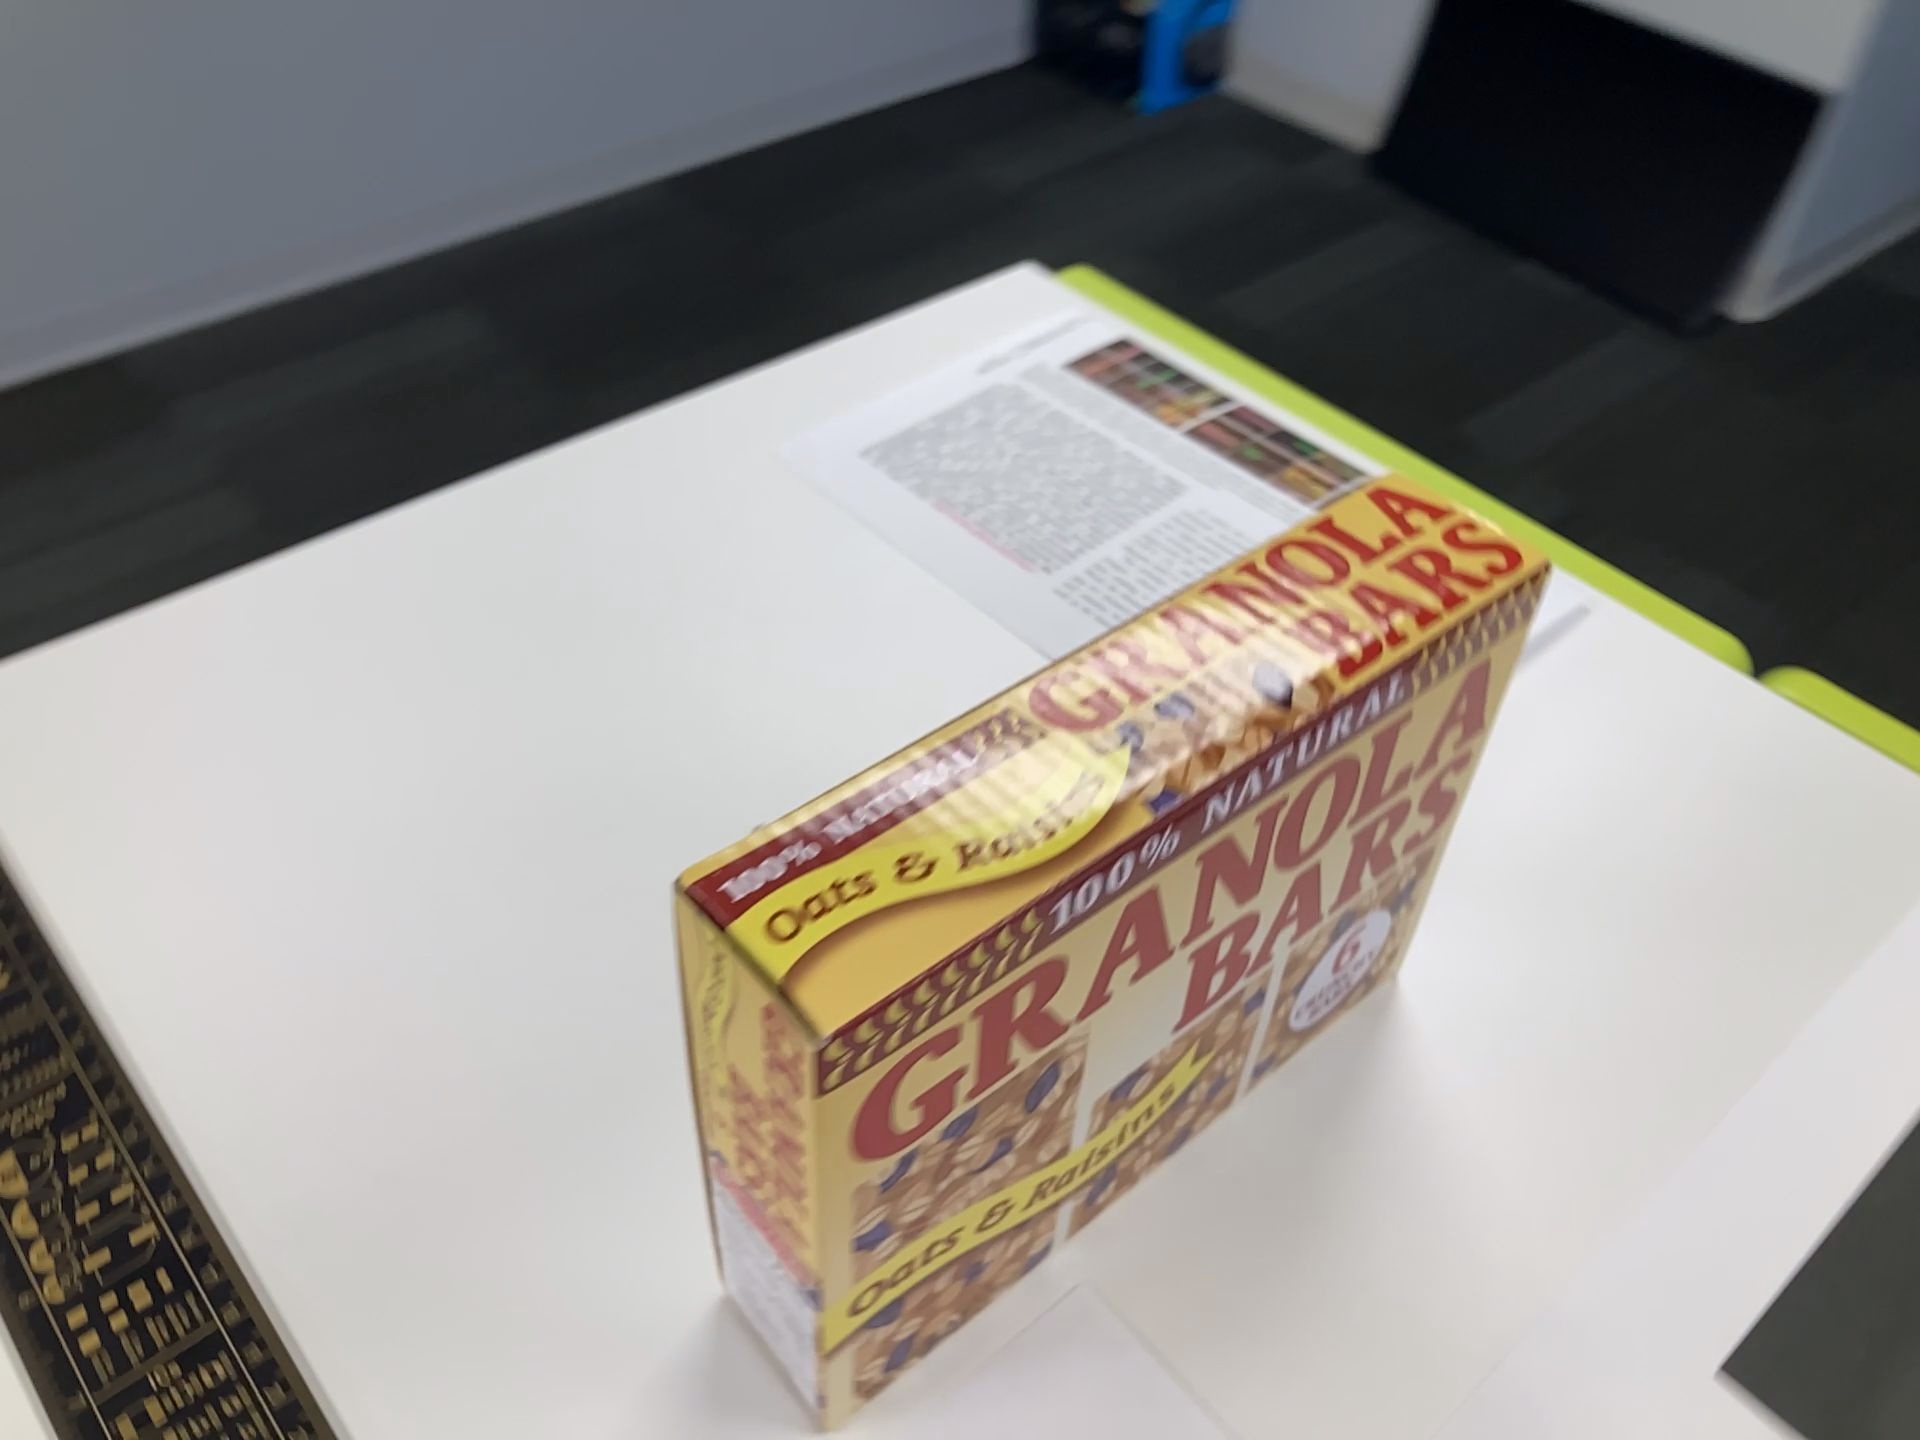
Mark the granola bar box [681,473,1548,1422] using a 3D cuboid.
[{"bbox_3d":[0.030,0.040,0.301,0.165,0.124,0.039,-30,53,-29],"label":"granola bar box"}]
